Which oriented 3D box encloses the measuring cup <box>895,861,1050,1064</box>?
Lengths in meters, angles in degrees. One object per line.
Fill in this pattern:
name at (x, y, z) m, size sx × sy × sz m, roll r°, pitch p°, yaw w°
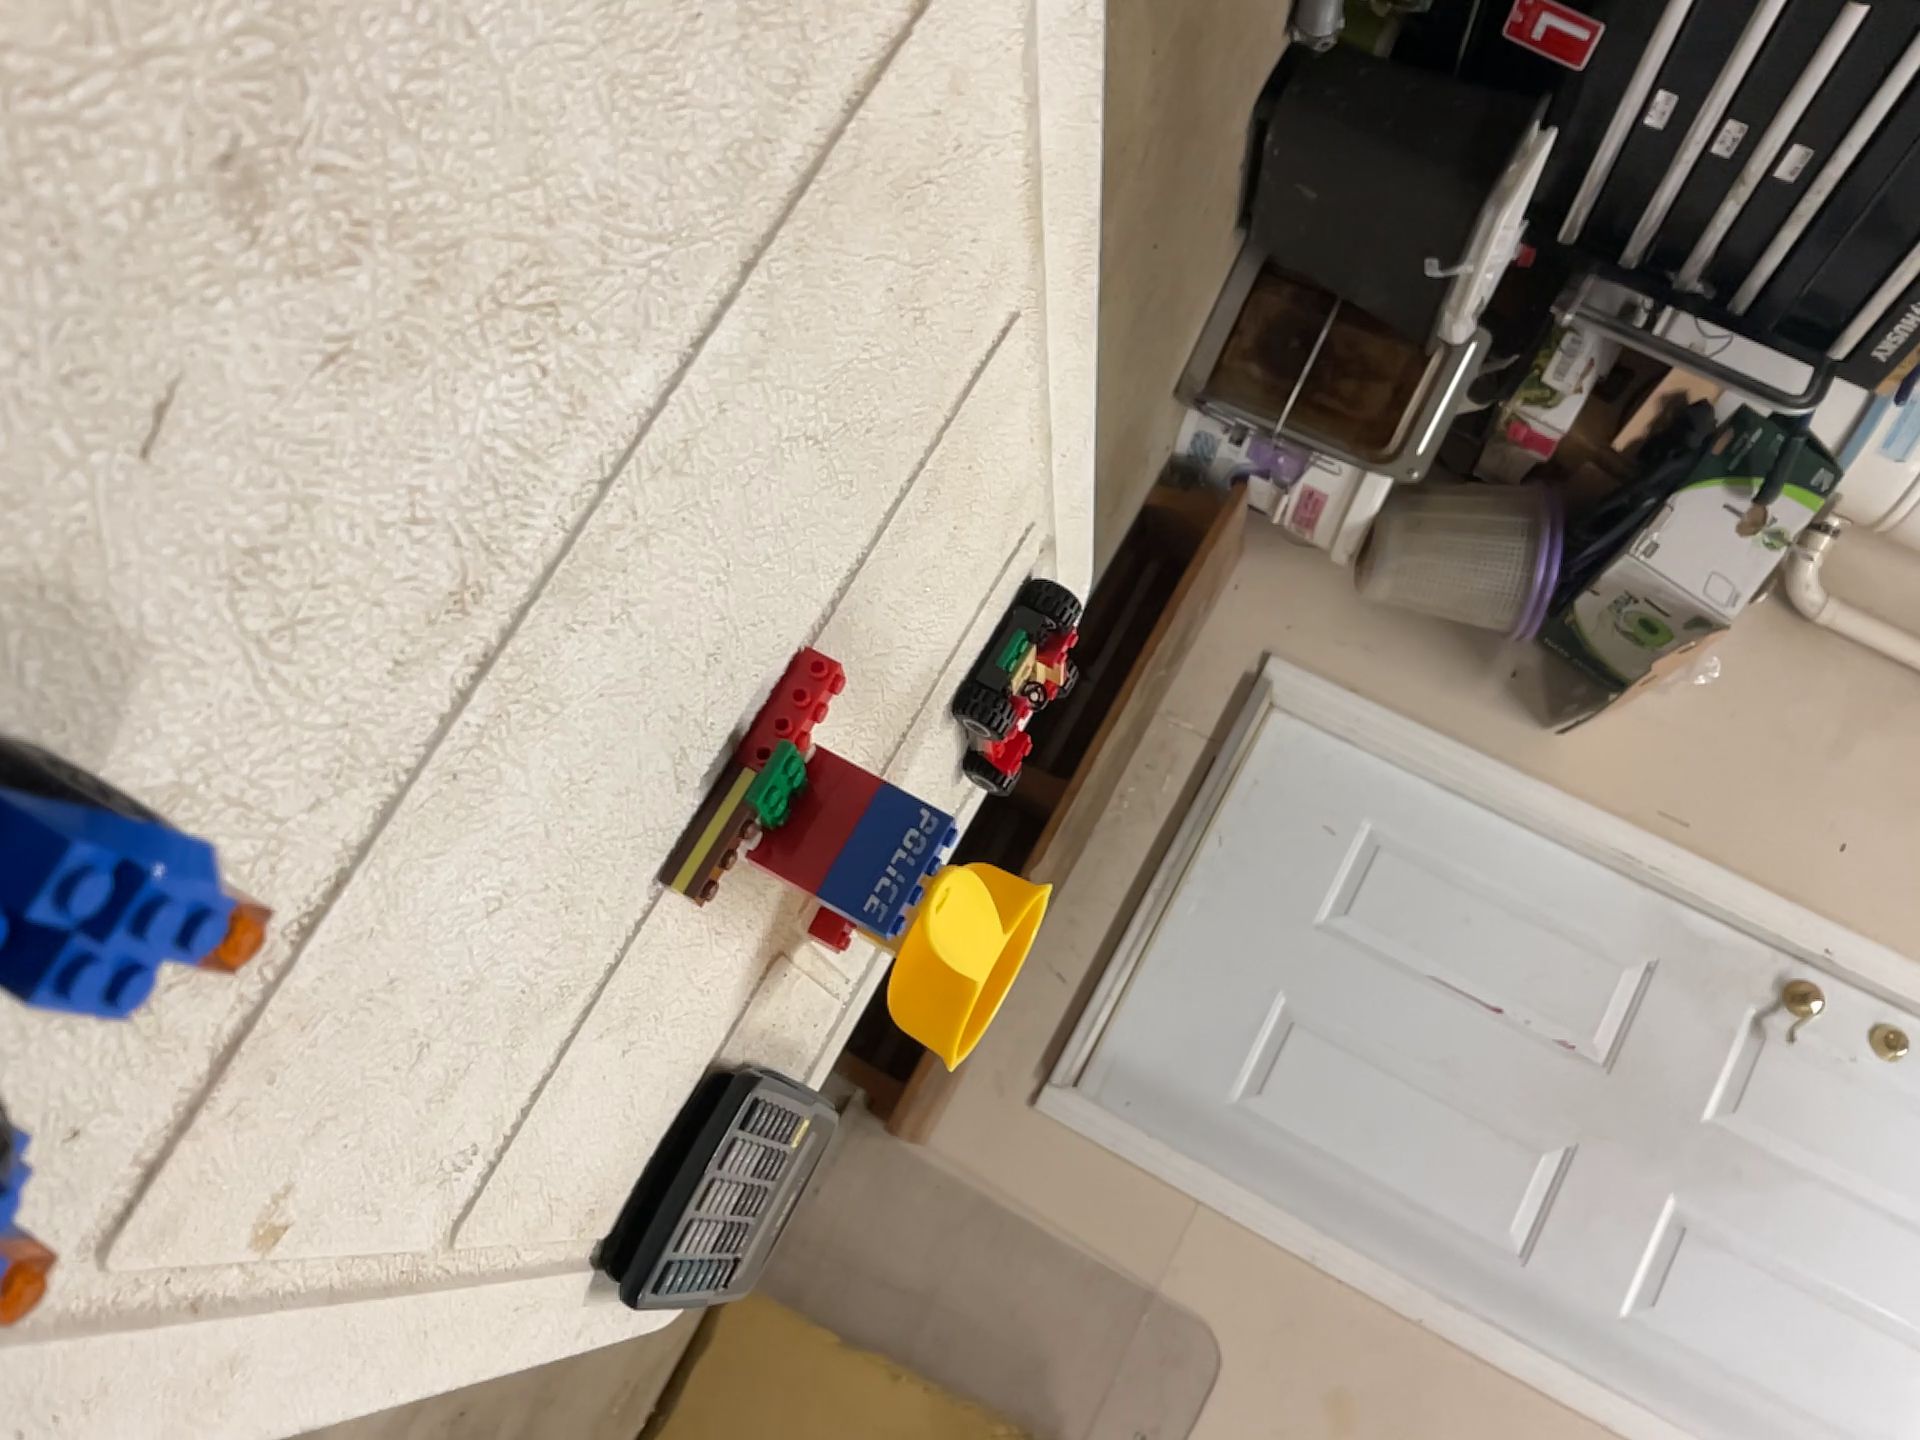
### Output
measuring cup at (-0.005, 0.058, 0.452) m, size 0.062 × 0.029 × 0.156 m, roll -60°, pitch 164°, yaw -12°
